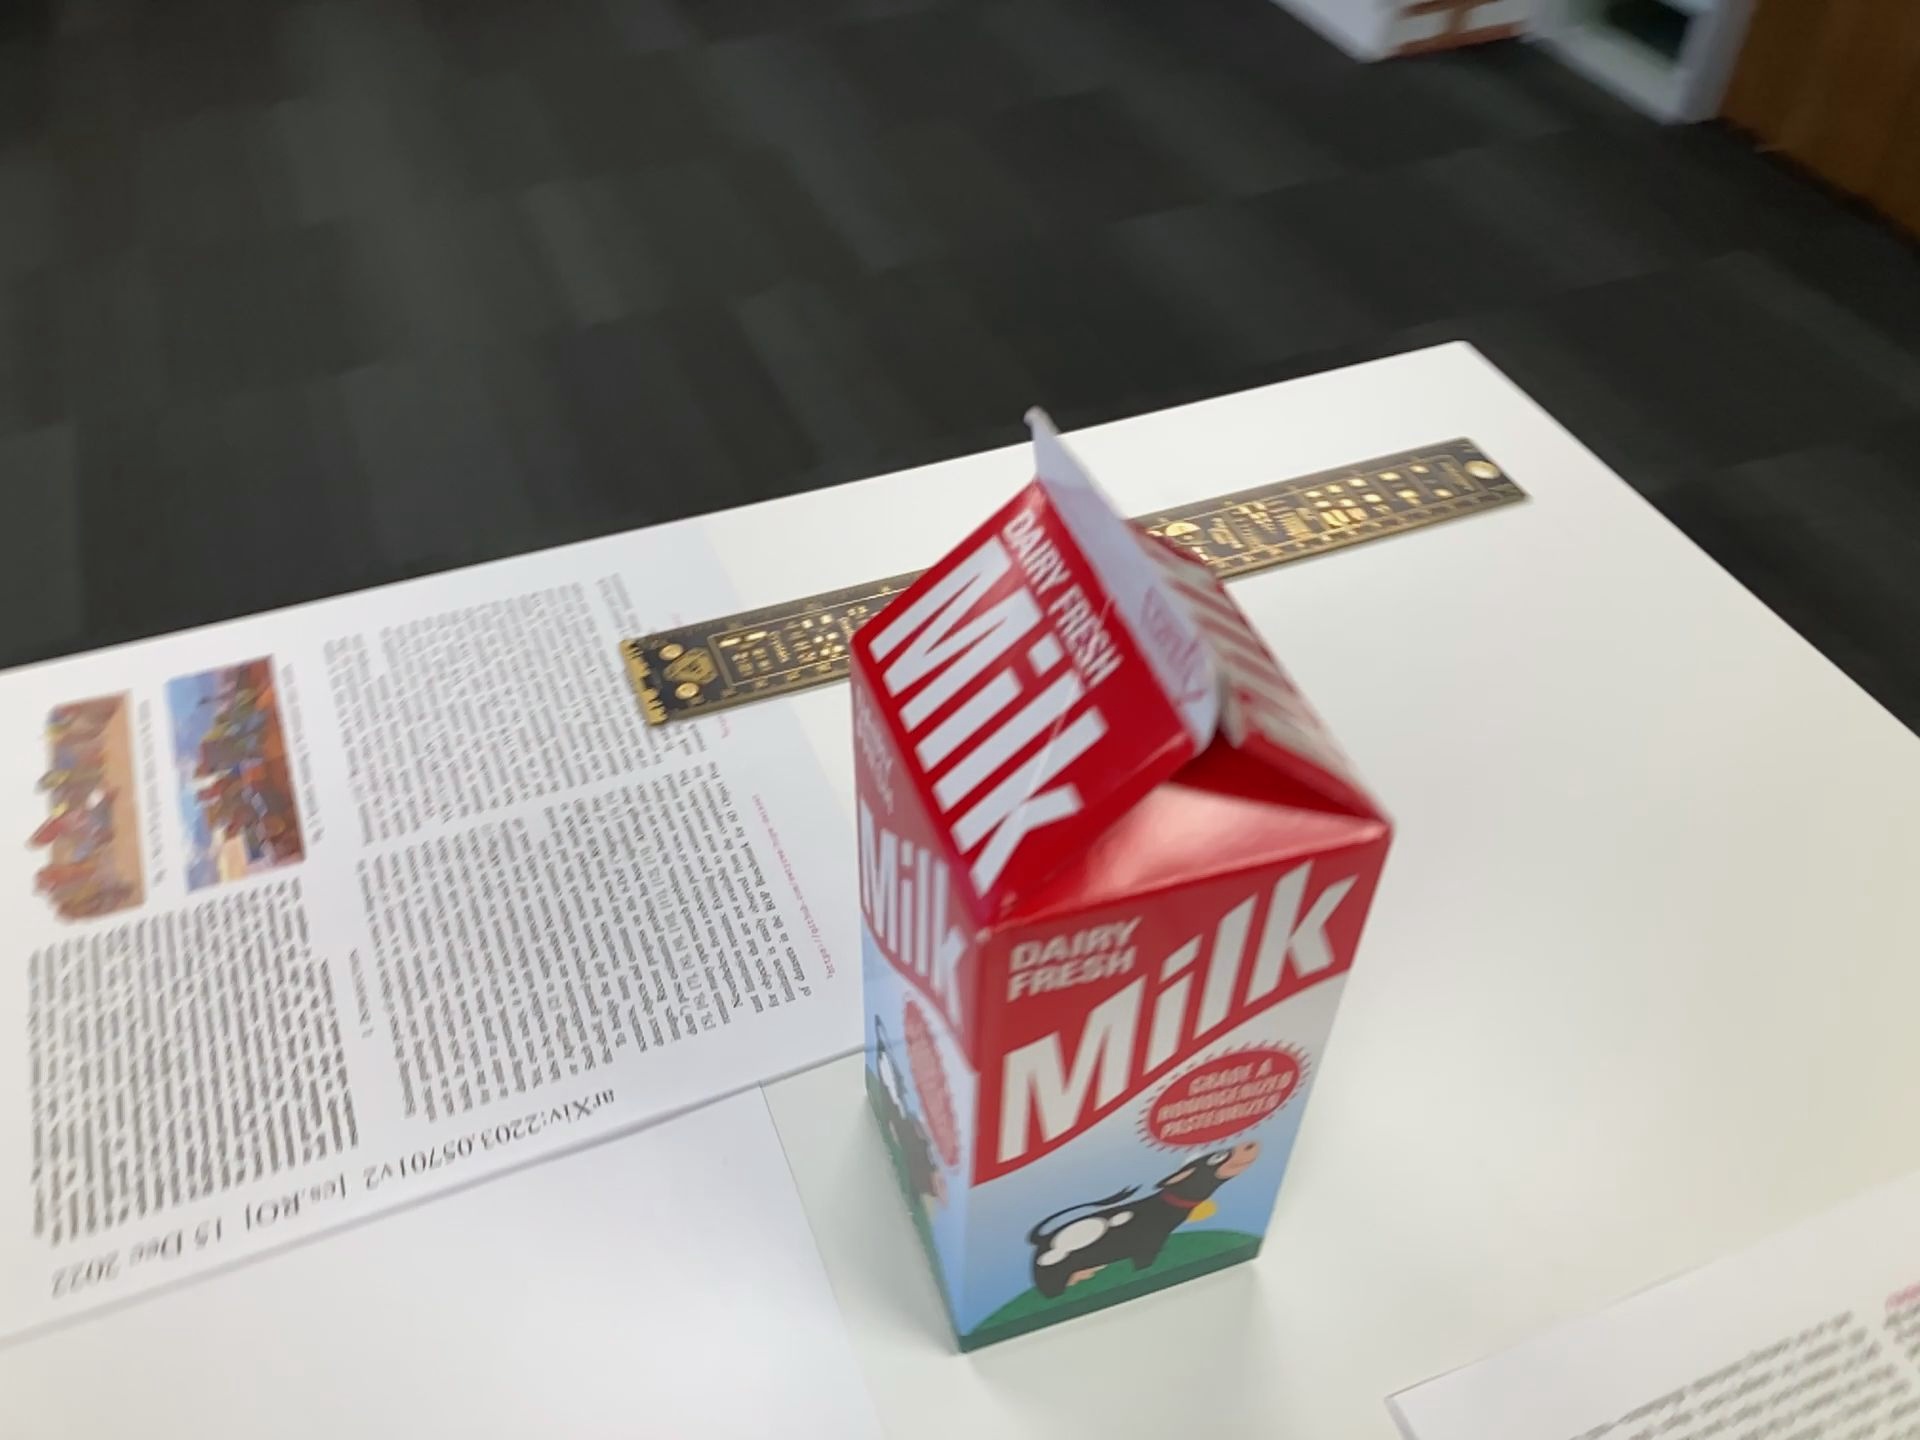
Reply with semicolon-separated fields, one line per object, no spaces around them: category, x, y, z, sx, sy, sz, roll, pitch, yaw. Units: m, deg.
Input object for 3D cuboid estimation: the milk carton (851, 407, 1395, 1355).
milk carton;0.024;0.039;0.302;0.073;0.190;0.072;-13;46;-14
